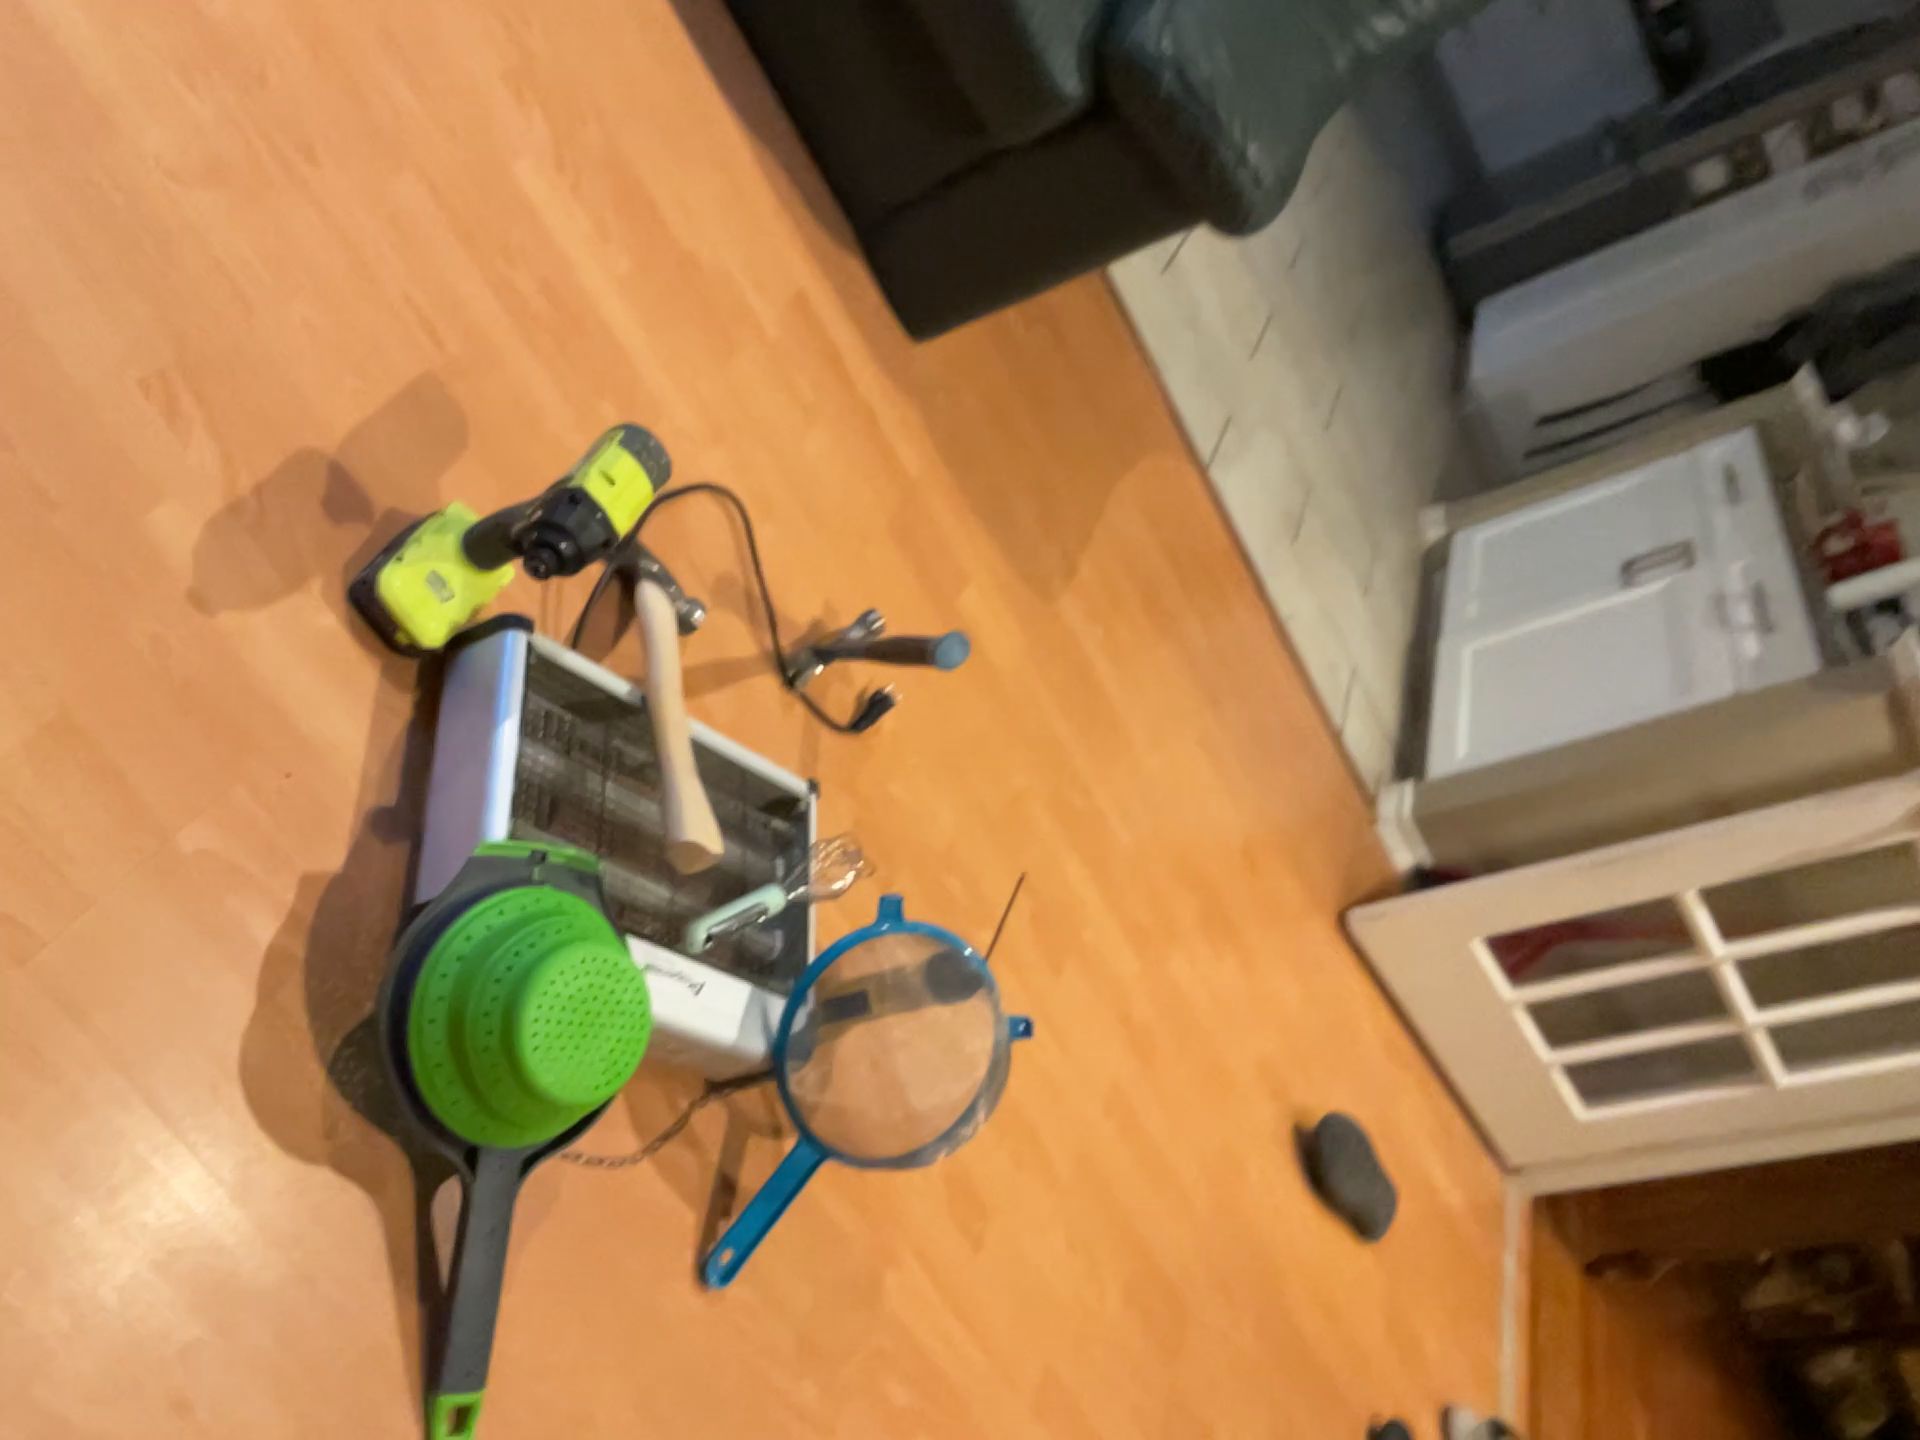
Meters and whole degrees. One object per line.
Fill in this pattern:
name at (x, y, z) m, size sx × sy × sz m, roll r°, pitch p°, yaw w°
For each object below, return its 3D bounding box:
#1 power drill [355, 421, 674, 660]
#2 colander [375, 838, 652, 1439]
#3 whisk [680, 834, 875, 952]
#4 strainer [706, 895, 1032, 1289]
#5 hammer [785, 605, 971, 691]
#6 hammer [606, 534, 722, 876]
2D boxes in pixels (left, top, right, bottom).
power drill at (-0.332, -0.129, 1.185) m, size 0.080 × 0.223 × 0.171 m, roll 56°, pitch 33°, yaw -24°
colander at (-0.286, 0.279, 1.065) m, size 0.204 × 0.094 × 0.397 m, roll 18°, pitch 74°, yaw -47°
whisk at (-0.151, 0.147, 1.348) m, size 0.246 × 0.059 × 0.057 m, roll -22°, pitch 122°, yaw -58°
strainer at (-0.079, 0.325, 1.300) m, size 0.211 × 0.095 × 0.340 m, roll 45°, pitch 73°, yaw -21°
hammer at (-0.073, -0.069, 1.532) m, size 0.128 × 0.331 × 0.033 m, roll -32°, pitch 105°, yaw -20°
hammer at (-0.247, -0.026, 1.304) m, size 0.146 × 0.038 × 0.411 m, roll 48°, pitch 12°, yaw -36°
